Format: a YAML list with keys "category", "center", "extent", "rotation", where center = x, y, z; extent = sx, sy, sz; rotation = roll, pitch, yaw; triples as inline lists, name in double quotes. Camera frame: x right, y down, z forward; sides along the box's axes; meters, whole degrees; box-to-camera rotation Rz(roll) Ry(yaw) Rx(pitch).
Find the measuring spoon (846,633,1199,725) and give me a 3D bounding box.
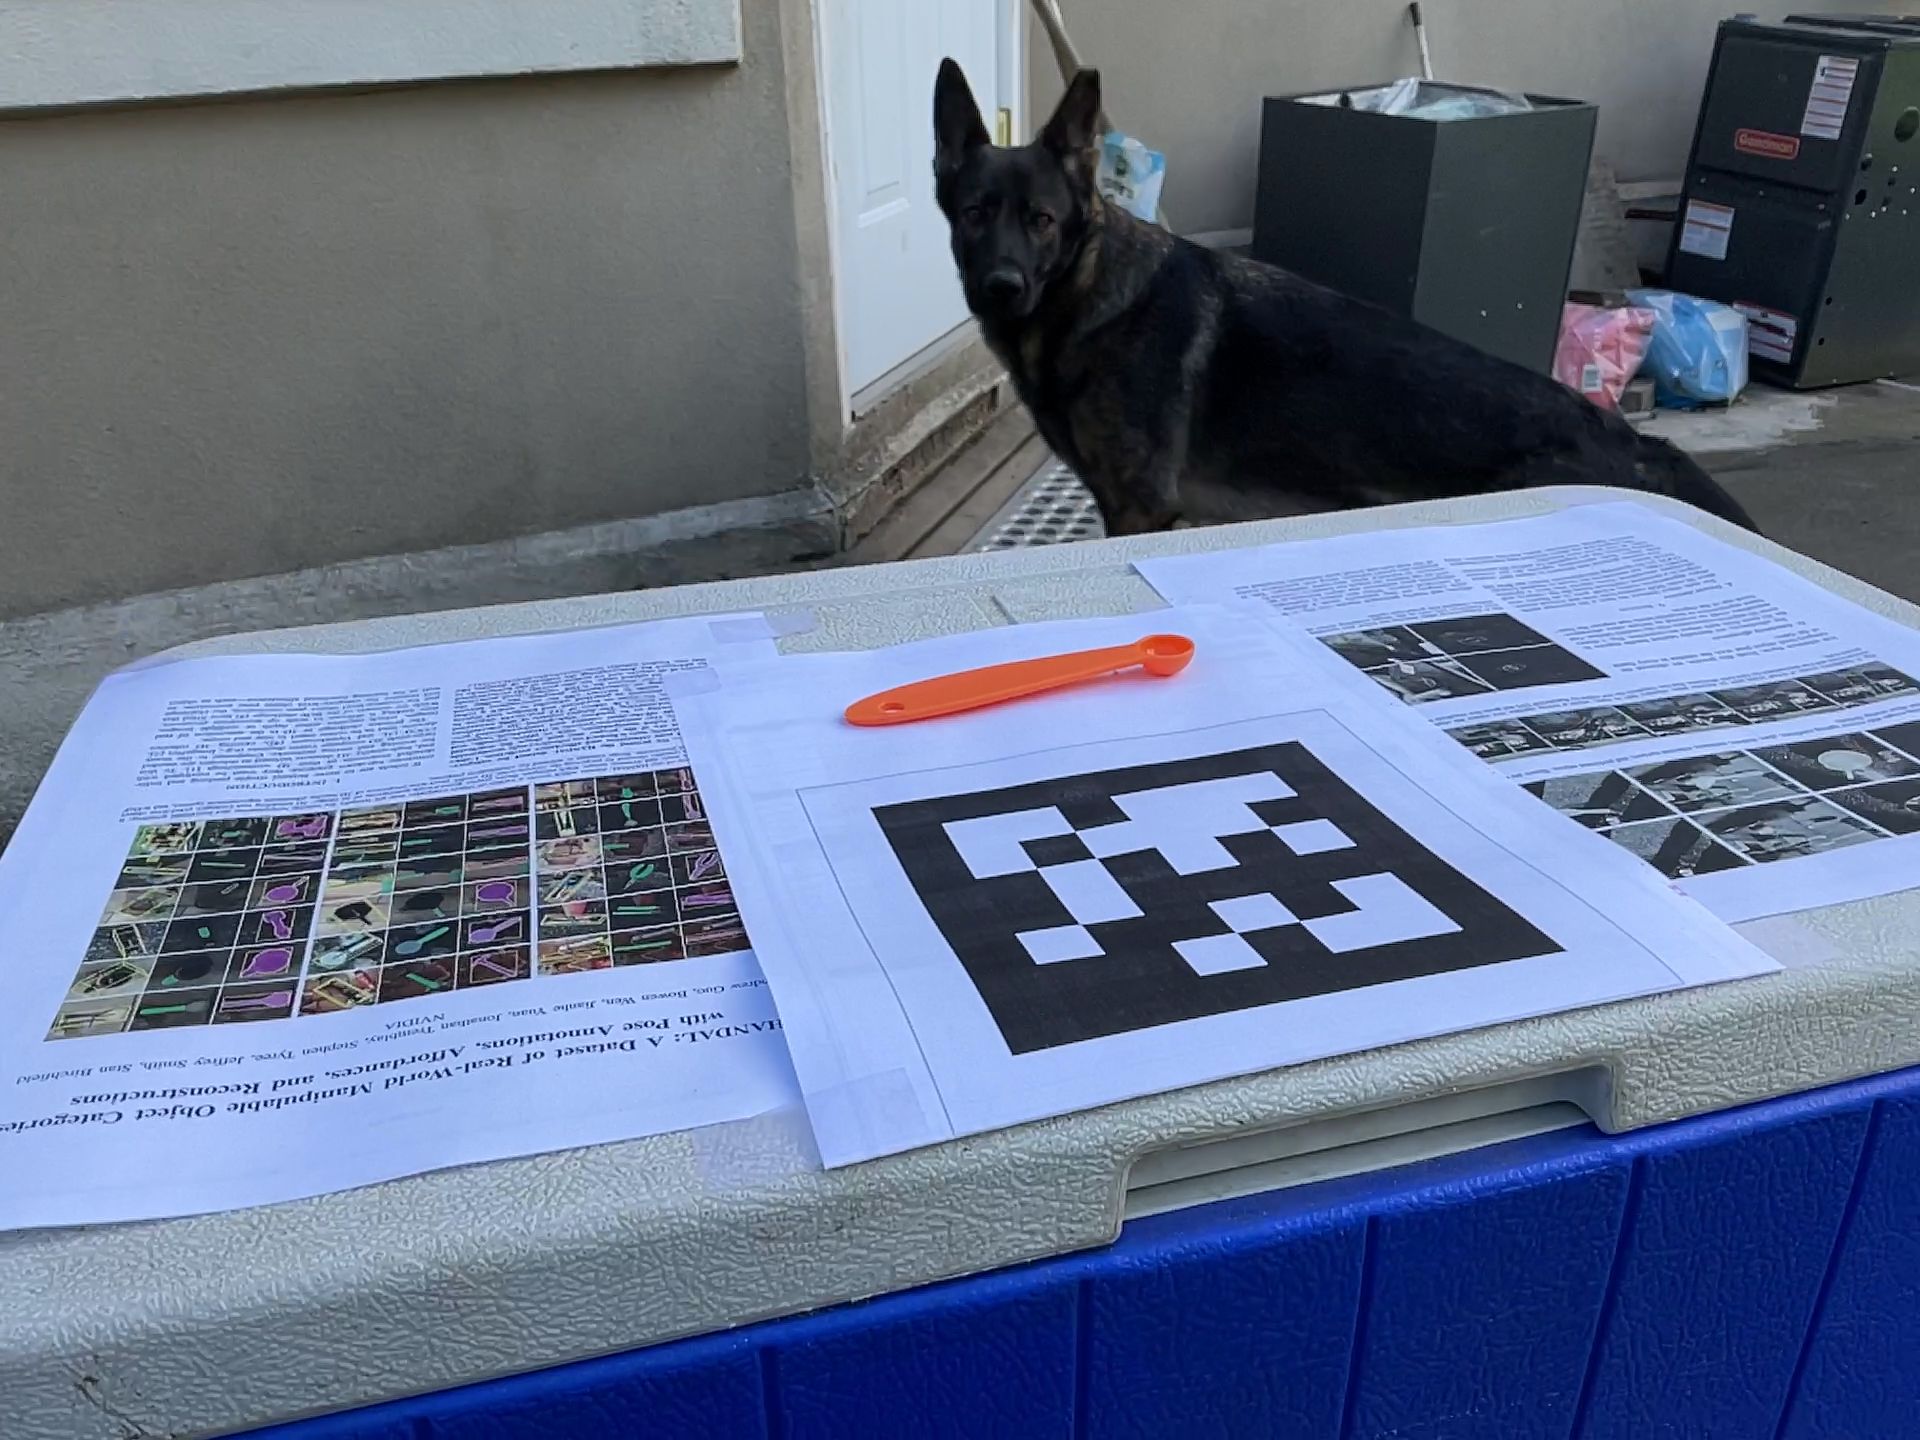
- category: "measuring spoon"
  center: [0.021, -0.010, 0.506]
  extent: [0.117, 0.011, 0.021]
  rotation: [-12, 27, -14]
